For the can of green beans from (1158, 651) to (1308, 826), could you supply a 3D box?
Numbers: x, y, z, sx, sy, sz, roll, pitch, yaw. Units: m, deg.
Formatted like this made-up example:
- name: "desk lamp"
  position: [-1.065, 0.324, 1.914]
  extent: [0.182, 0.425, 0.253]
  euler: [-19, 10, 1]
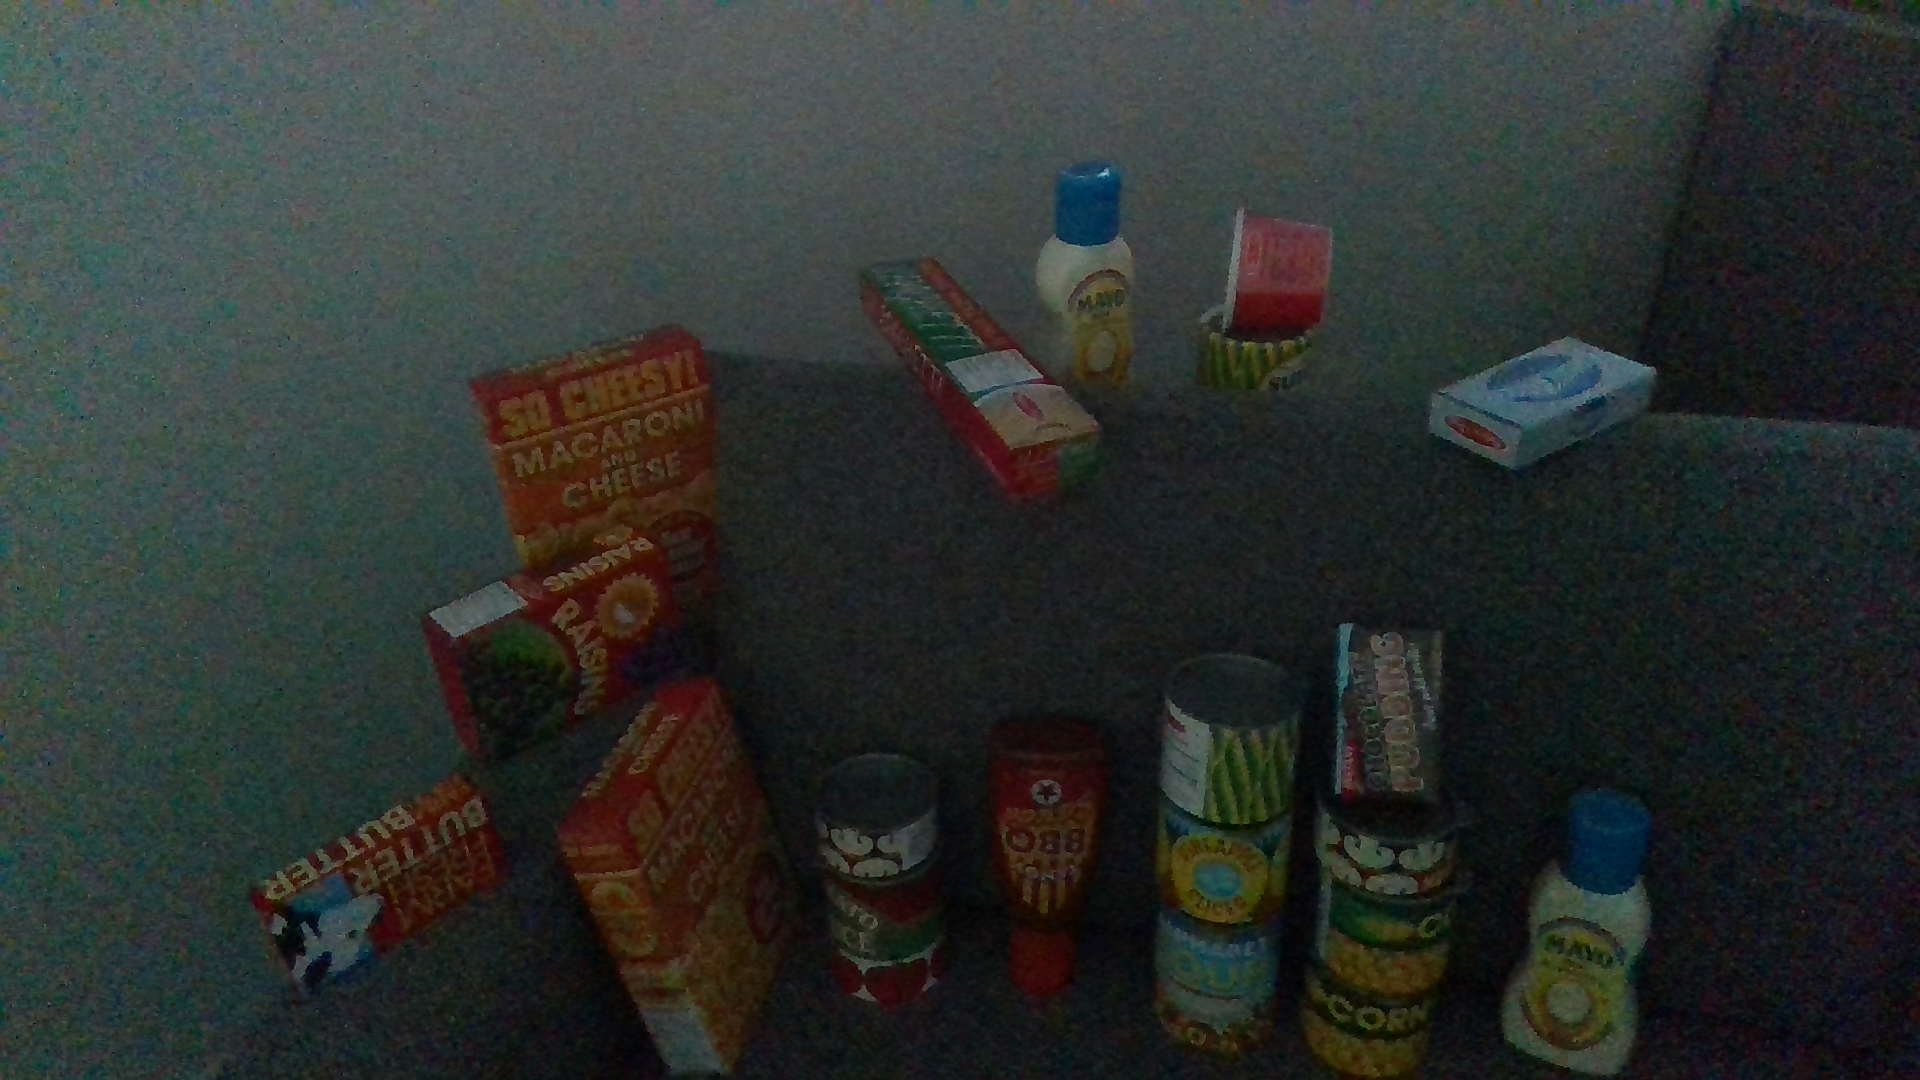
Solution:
- name: "can of green beans"
  position: [0.129, 0.095, 0.666]
  extent: [0.071, 0.057, 0.071]
  euler: [-1, 27, 1]

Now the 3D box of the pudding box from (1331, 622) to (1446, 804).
- name: "pudding box"
  position: [0.205, 0.082, 0.666]
  extent: [0.050, 0.084, 0.030]
  euler: [3, -8, 13]

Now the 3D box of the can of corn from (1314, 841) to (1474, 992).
- name: "can of corn"
  position: [0.211, 0.178, 0.681]
  extent: [0.071, 0.058, 0.071]
  euler: [-2, 27, 1]

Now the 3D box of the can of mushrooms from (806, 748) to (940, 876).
- name: "can of mushrooms"
  position: [-0.046, 0.141, 0.726]
  extent: [0.071, 0.033, 0.071]
  euler: [-1, 30, 1]

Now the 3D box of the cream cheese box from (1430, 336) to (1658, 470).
- name: "cream cheese box"
  position: [0.286, -0.069, 0.681]
  extent: [0.104, 0.024, 0.053]
  euler: [-21, 38, -27]

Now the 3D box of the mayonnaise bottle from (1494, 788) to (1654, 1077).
- name: "mayonnaise bottle"
  position: [0.304, 0.191, 0.680]
  extent: [0.065, 0.147, 0.041]
  euler: [13, 29, 26]

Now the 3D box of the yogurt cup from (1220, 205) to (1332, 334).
- name: "yogurt cup"
  position: [0.178, -0.151, 0.781]
  extent: [0.054, 0.072, 0.072]
  euler: [7, 1, 9]

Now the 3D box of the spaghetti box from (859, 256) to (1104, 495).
- name: "spaghetti box"
  position: [0.004, -0.096, 0.736]
  extent: [0.050, 0.028, 0.251]
  euler: [-12, 33, -15]

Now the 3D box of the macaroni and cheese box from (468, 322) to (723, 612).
- name: "macaroni and cheese box"
  position: [-0.199, -0.029, 0.798]
  extent: [0.124, 0.165, 0.040]
  euler: [-21, 35, -27]

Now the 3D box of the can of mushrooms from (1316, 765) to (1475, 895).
- name: "can of mushrooms"
  position: [0.207, 0.137, 0.664]
  extent: [0.071, 0.033, 0.071]
  euler: [-2, 26, 1]

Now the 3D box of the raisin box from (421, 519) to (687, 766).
- name: "raisin box"
  position: [-0.212, 0.052, 0.741]
  extent: [0.124, 0.085, 0.040]
  euler: [-28, 41, -33]

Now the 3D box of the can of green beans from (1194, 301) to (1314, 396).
- name: "can of green beans"
  position: [0.170, -0.102, 0.809]
  extent: [0.071, 0.057, 0.071]
  euler: [-2, 33, 1]

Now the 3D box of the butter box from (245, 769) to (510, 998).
- name: "butter box"
  position: [-0.258, 0.152, 0.623]
  extent: [0.104, 0.052, 0.024]
  euler: [-31, 40, -34]

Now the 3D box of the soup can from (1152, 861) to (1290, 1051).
- name: "soup can"
  position: [0.132, 0.211, 0.715]
  extent: [0.071, 0.083, 0.071]
  euler: [-1, 26, 1]

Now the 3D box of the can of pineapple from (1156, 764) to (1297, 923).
- name: "can of pineapple"
  position: [0.131, 0.147, 0.688]
  extent: [0.071, 0.057, 0.071]
  euler: [-1, 27, 1]

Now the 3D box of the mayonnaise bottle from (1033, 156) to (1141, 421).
- name: "mayonnaise bottle"
  position: [0.071, -0.141, 0.790]
  extent: [0.065, 0.147, 0.041]
  euler: [-15, 36, -17]

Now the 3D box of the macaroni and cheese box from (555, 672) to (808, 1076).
- name: "macaroni and cheese box"
  position: [-0.140, 0.173, 0.724]
  extent: [0.040, 0.165, 0.124]
  euler: [-7, 27, 18]

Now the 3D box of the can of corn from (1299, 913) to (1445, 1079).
- name: "can of corn"
  position: [0.208, 0.230, 0.706]
  extent: [0.071, 0.058, 0.071]
  euler: [-1, 26, 0]

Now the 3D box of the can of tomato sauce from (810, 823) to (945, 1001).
- name: "can of tomato sauce"
  position: [-0.043, 0.195, 0.746]
  extent: [0.071, 0.082, 0.071]
  euler: [0, 26, 0]

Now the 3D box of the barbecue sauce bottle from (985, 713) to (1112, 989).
- name: "barbecue sauce bottle"
  position: [0.045, 0.165, 0.729]
  extent: [0.065, 0.148, 0.044]
  euler: [2, 22, 4]
